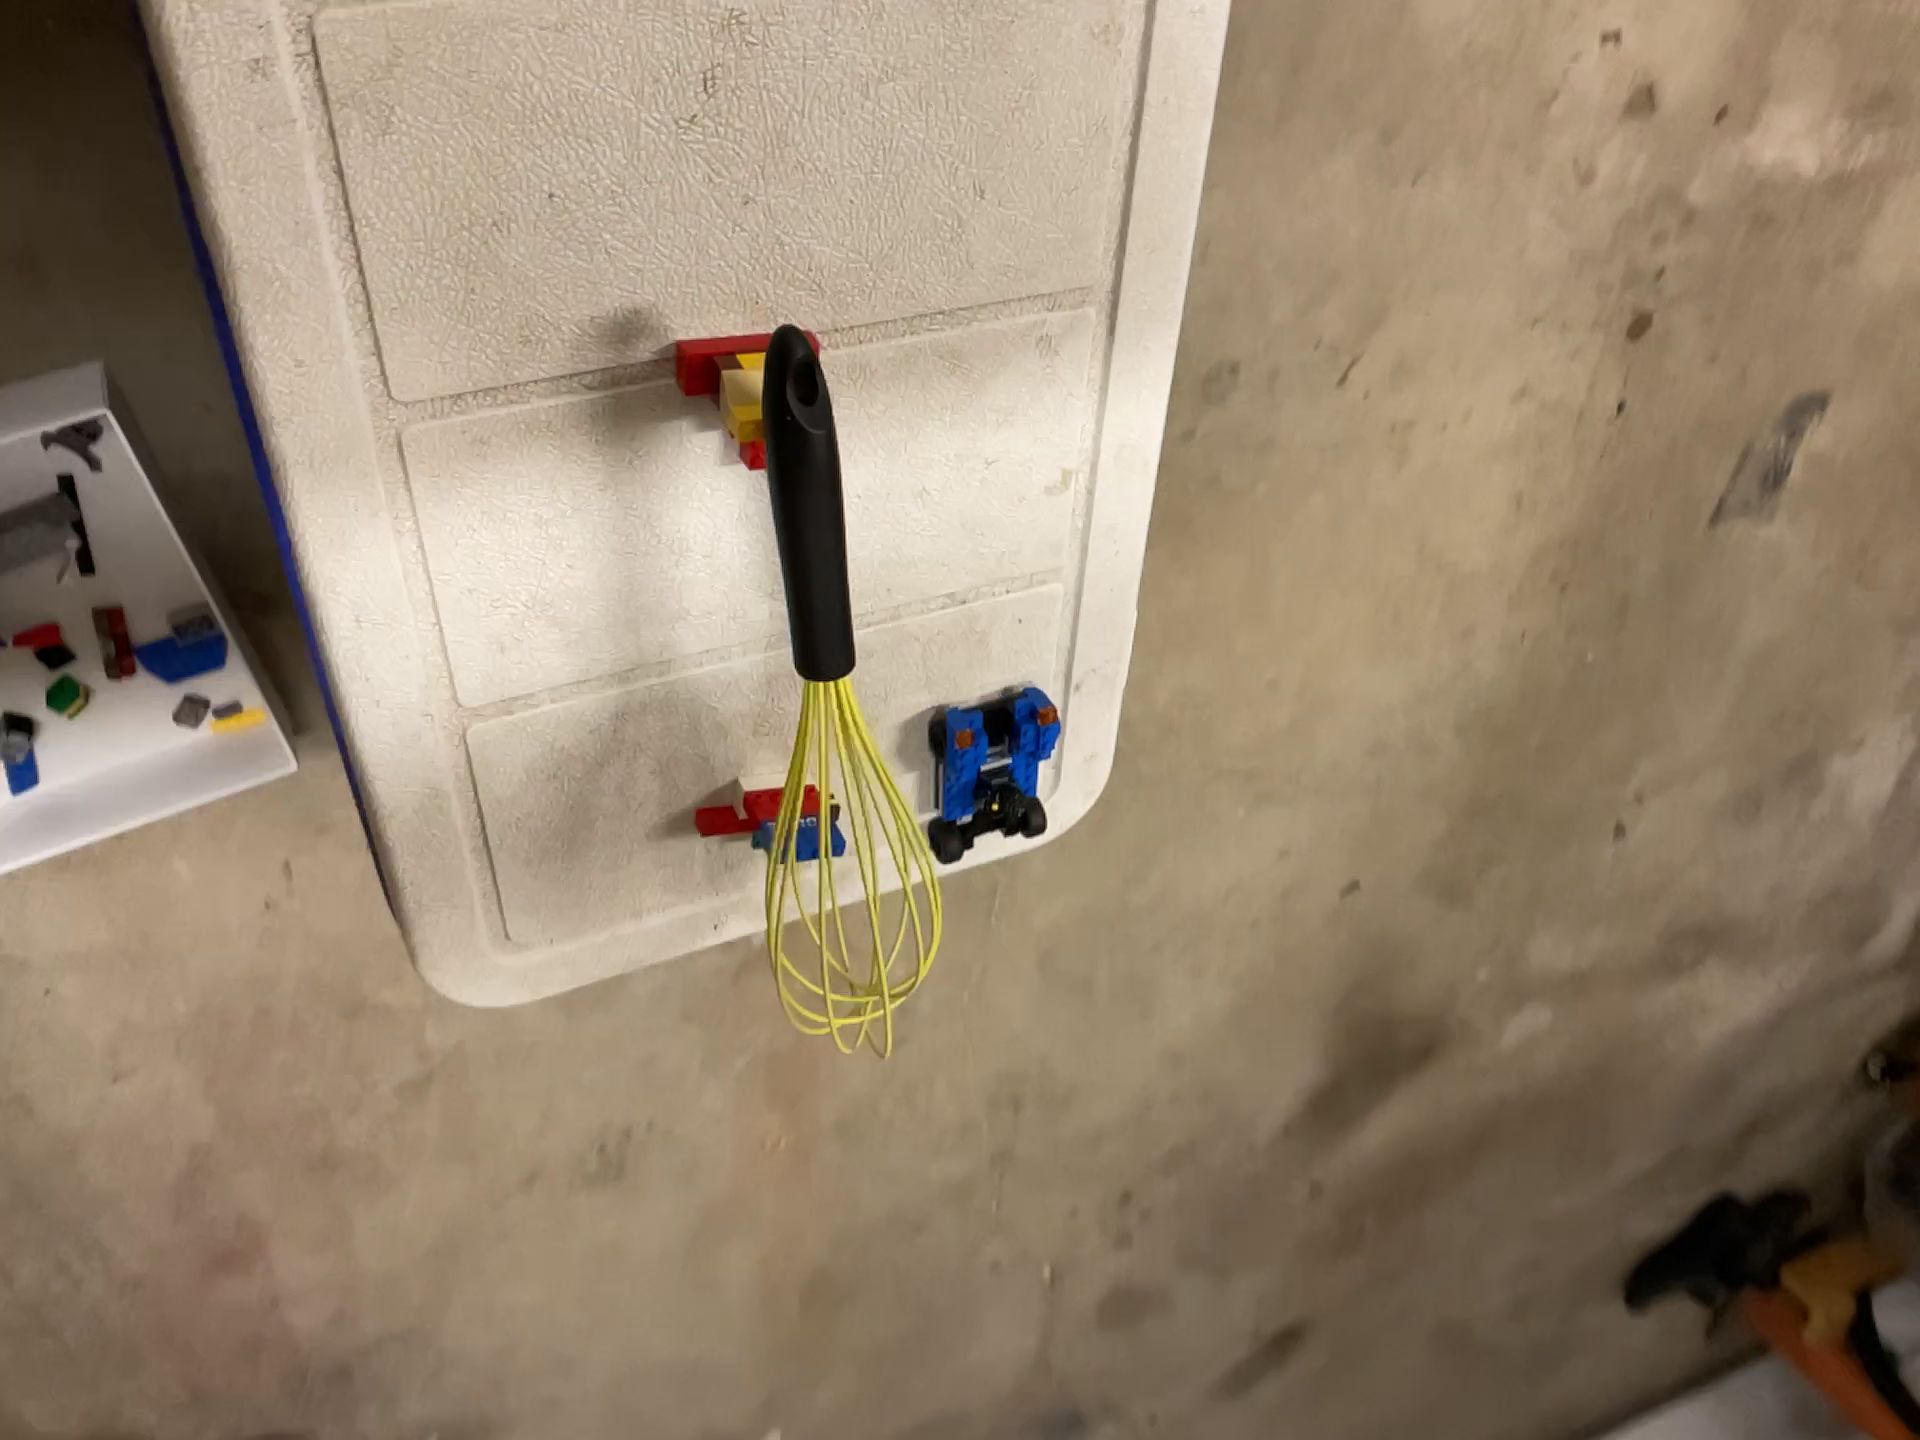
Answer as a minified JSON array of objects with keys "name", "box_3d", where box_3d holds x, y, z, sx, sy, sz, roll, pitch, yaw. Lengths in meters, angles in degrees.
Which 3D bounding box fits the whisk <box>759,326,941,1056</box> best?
[{"name":"whisk","box_3d":[-0.049,0.004,0.588,0.080,0.067,0.311,-59,153,-50]}]
